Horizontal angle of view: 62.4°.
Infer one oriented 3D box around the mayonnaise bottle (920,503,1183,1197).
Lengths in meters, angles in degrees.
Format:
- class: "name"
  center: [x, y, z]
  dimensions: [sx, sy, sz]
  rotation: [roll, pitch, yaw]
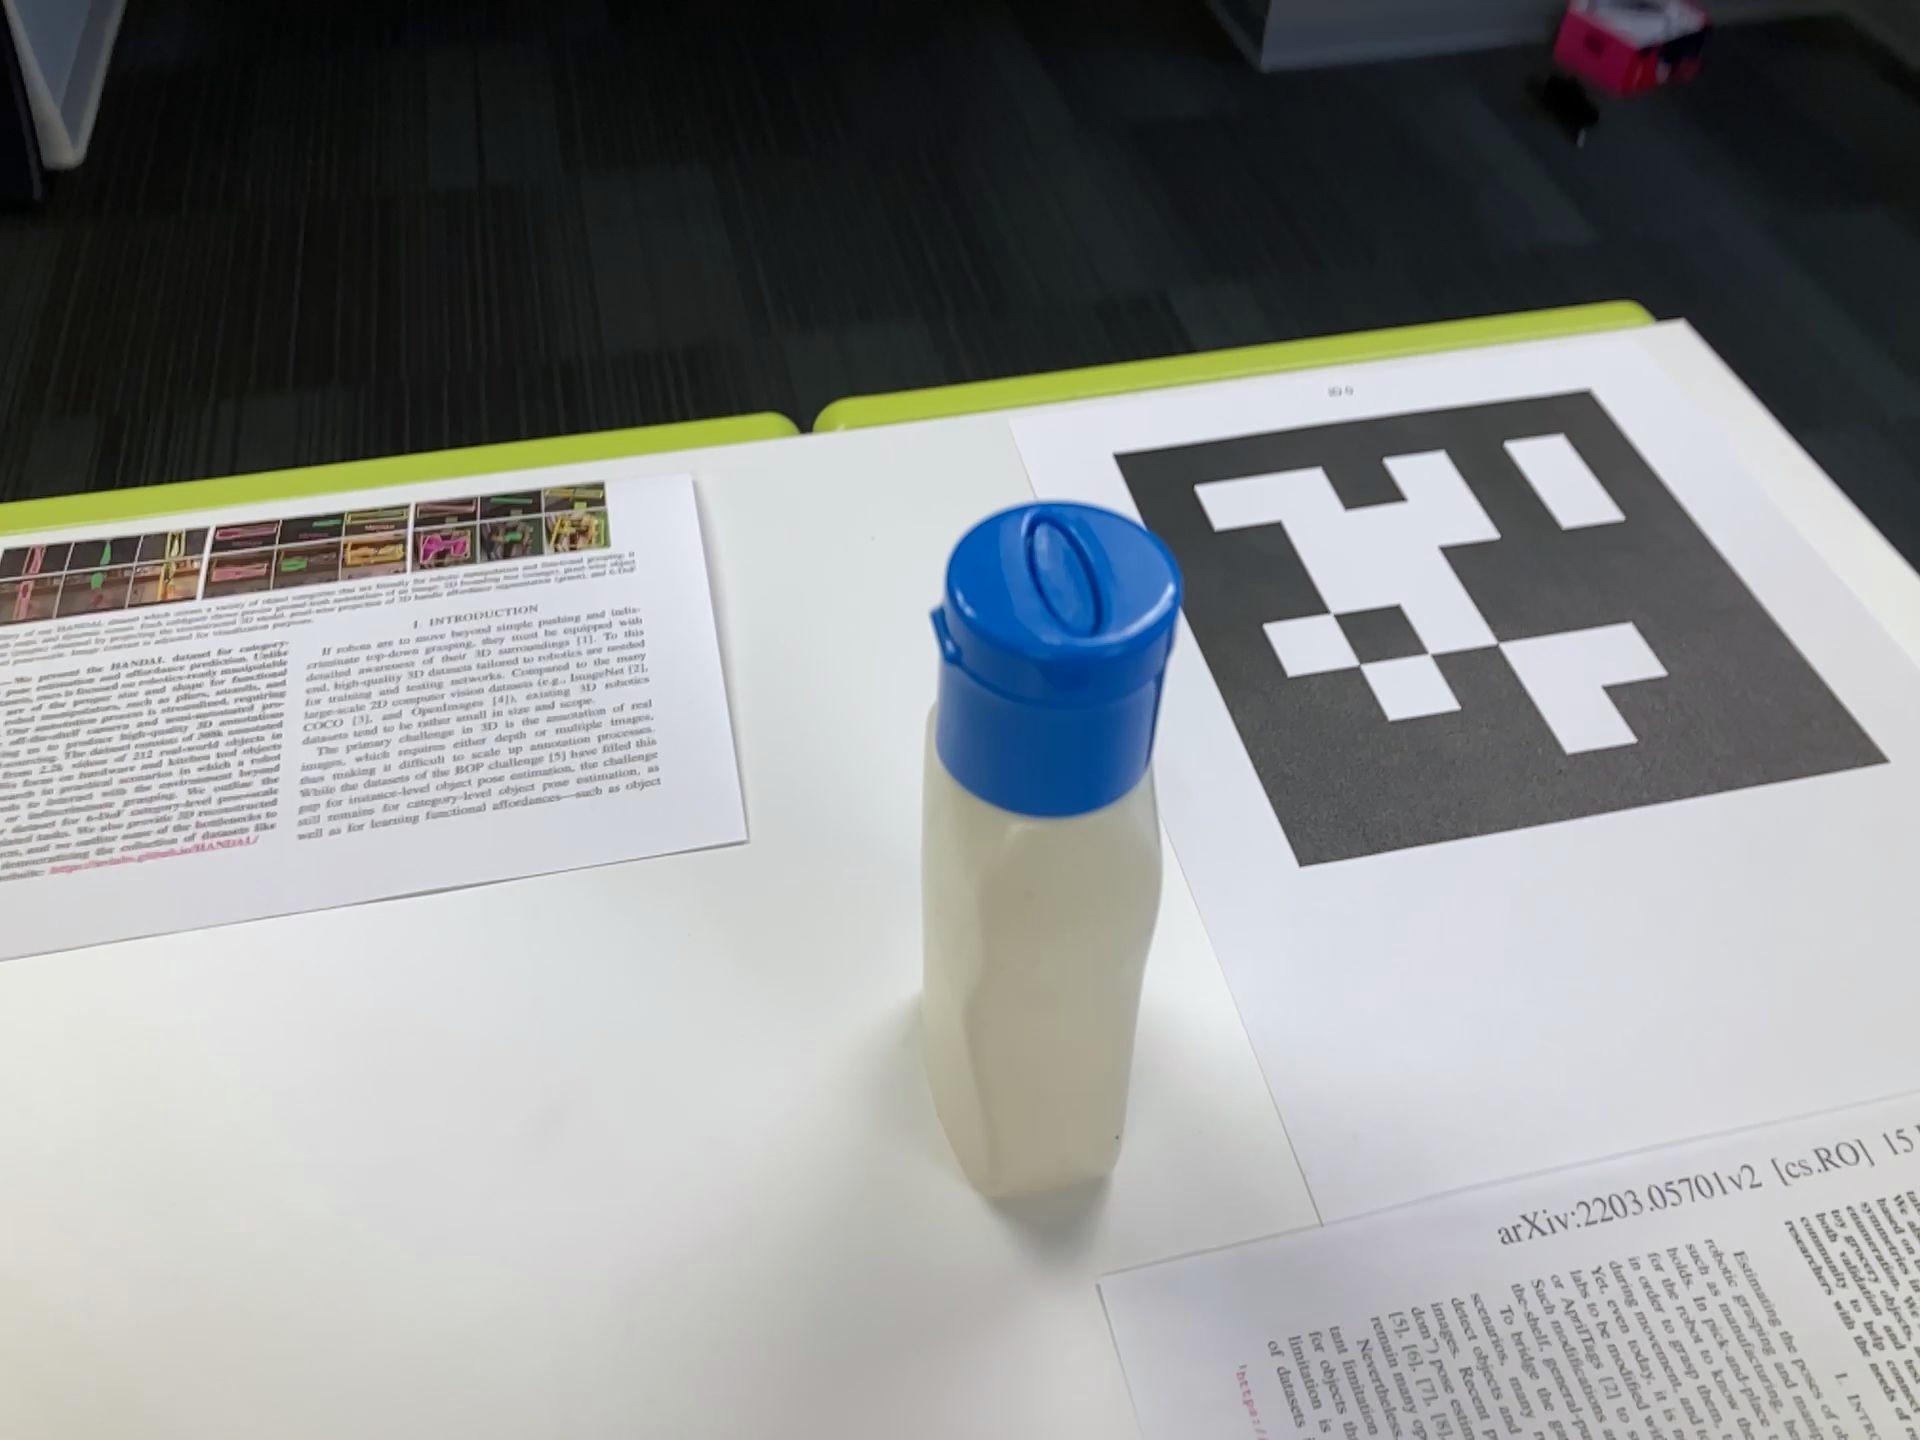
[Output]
- class: "mayonnaise bottle"
  center: [0.014, 0.028, 0.291]
  dimensions: [0.041, 0.148, 0.065]
  rotation: [-8, 49, -9]
